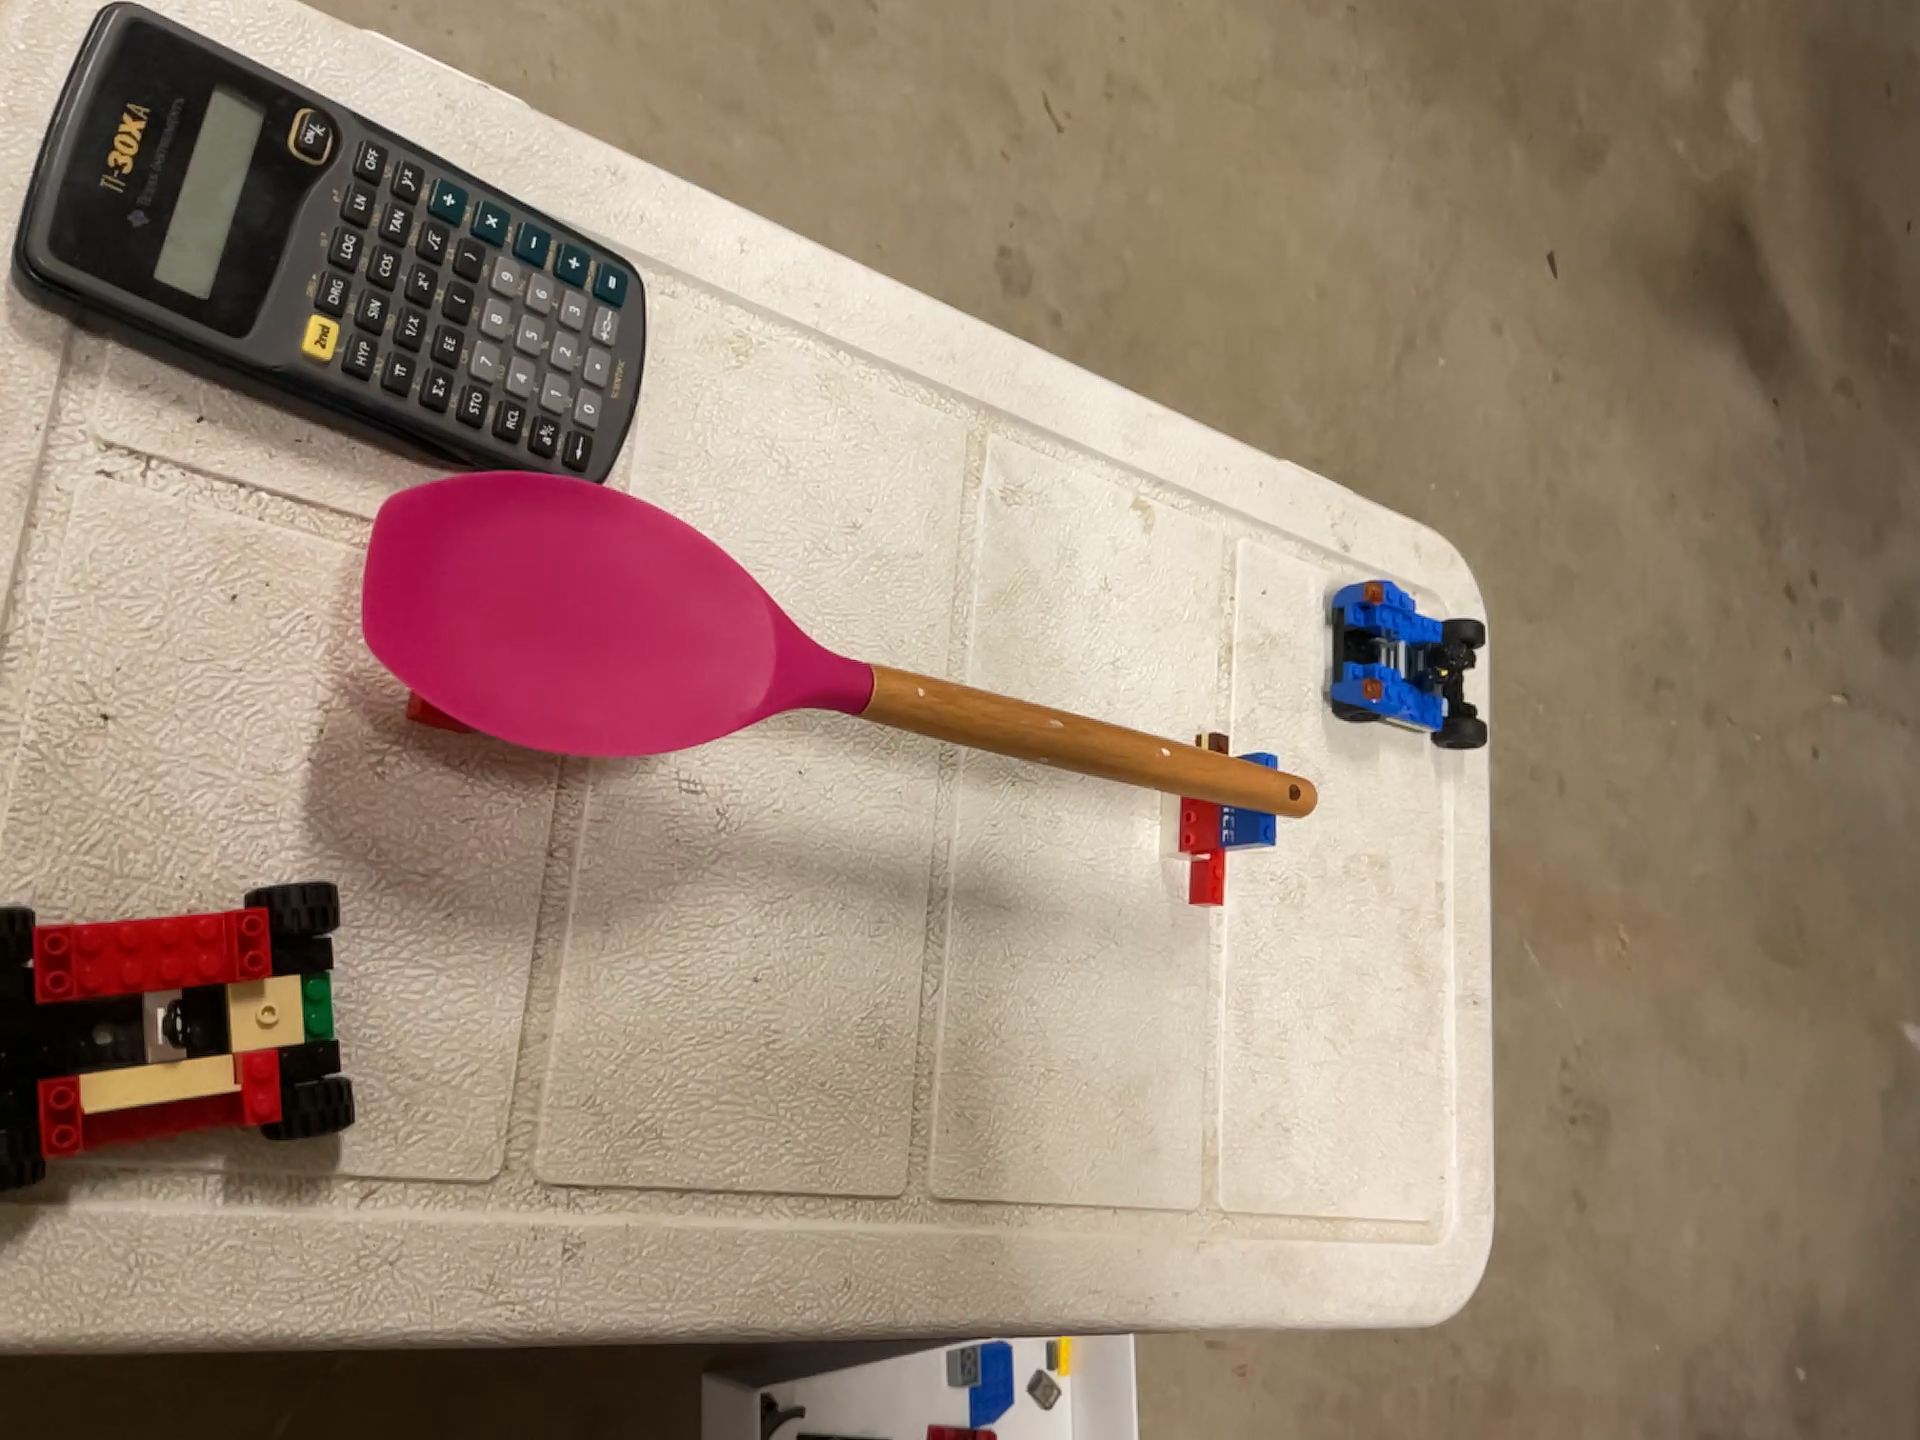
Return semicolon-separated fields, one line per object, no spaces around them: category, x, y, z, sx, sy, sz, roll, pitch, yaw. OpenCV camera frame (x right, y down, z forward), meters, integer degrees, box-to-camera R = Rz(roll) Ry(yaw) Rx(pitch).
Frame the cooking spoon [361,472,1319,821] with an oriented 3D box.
cooking spoon;-0.008;-0.003;0.452;0.319;0.017;0.069;14;73;-35
